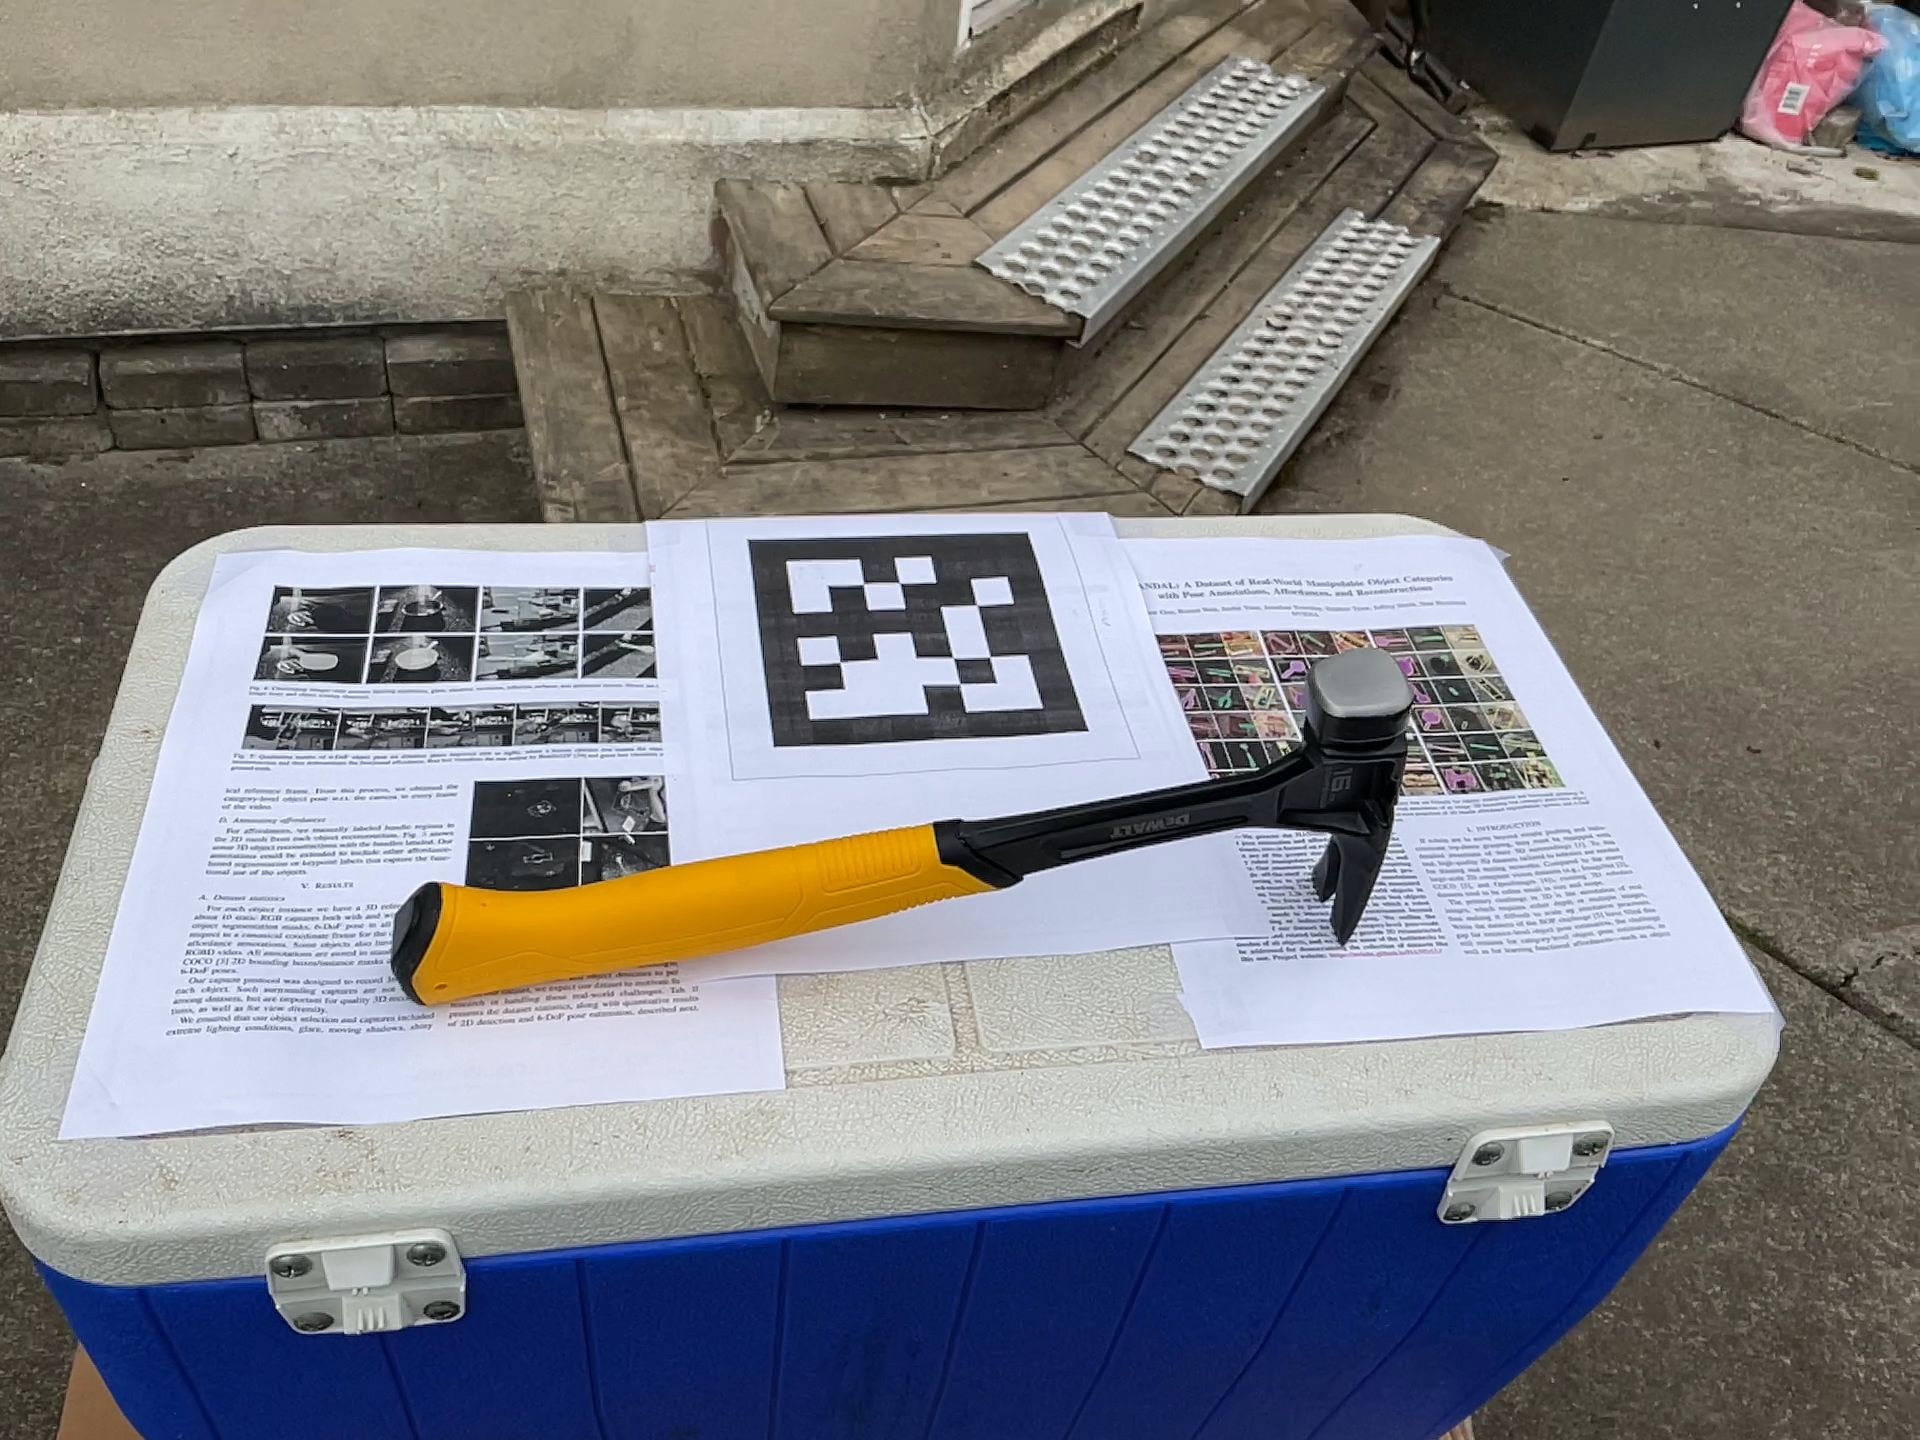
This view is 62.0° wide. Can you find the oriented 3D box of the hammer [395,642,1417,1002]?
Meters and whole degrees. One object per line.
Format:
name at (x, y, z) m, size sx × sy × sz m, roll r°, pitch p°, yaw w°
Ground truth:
hammer at (-0.017, 0.053, 0.541) m, size 0.336 × 0.127 × 0.034 m, roll -10°, pitch 46°, yaw -4°
